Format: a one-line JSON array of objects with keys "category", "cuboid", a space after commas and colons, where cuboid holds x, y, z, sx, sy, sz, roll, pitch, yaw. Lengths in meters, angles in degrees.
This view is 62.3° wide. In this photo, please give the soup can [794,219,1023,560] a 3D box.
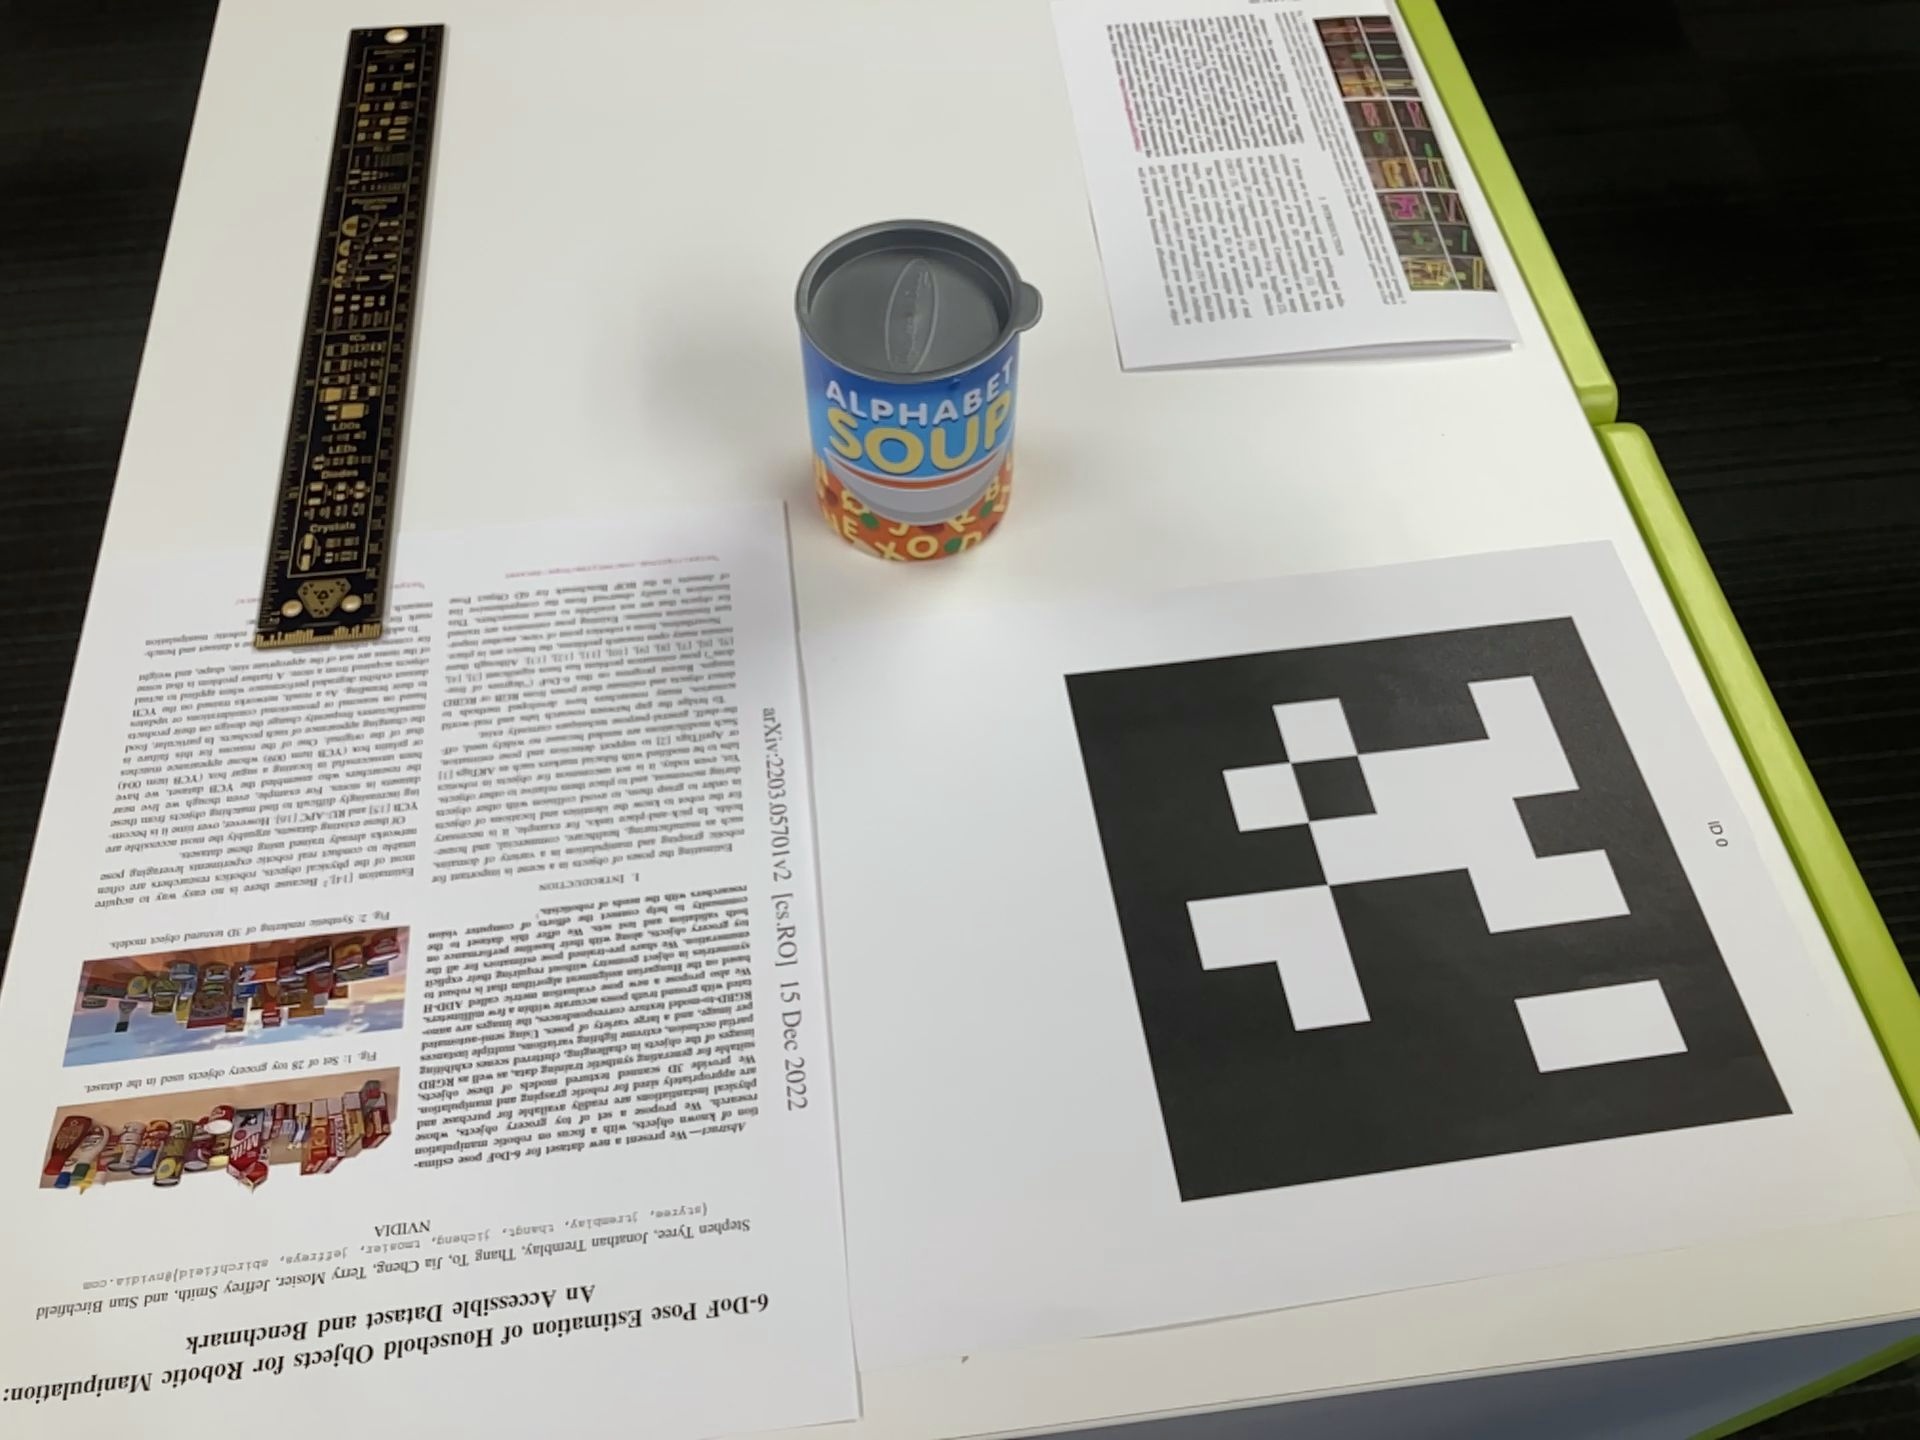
[{"category": "soup can", "cuboid": [-0.014, -0.098, 0.493, 0.071, 0.084, 0.071, 0, 57, 0]}]
